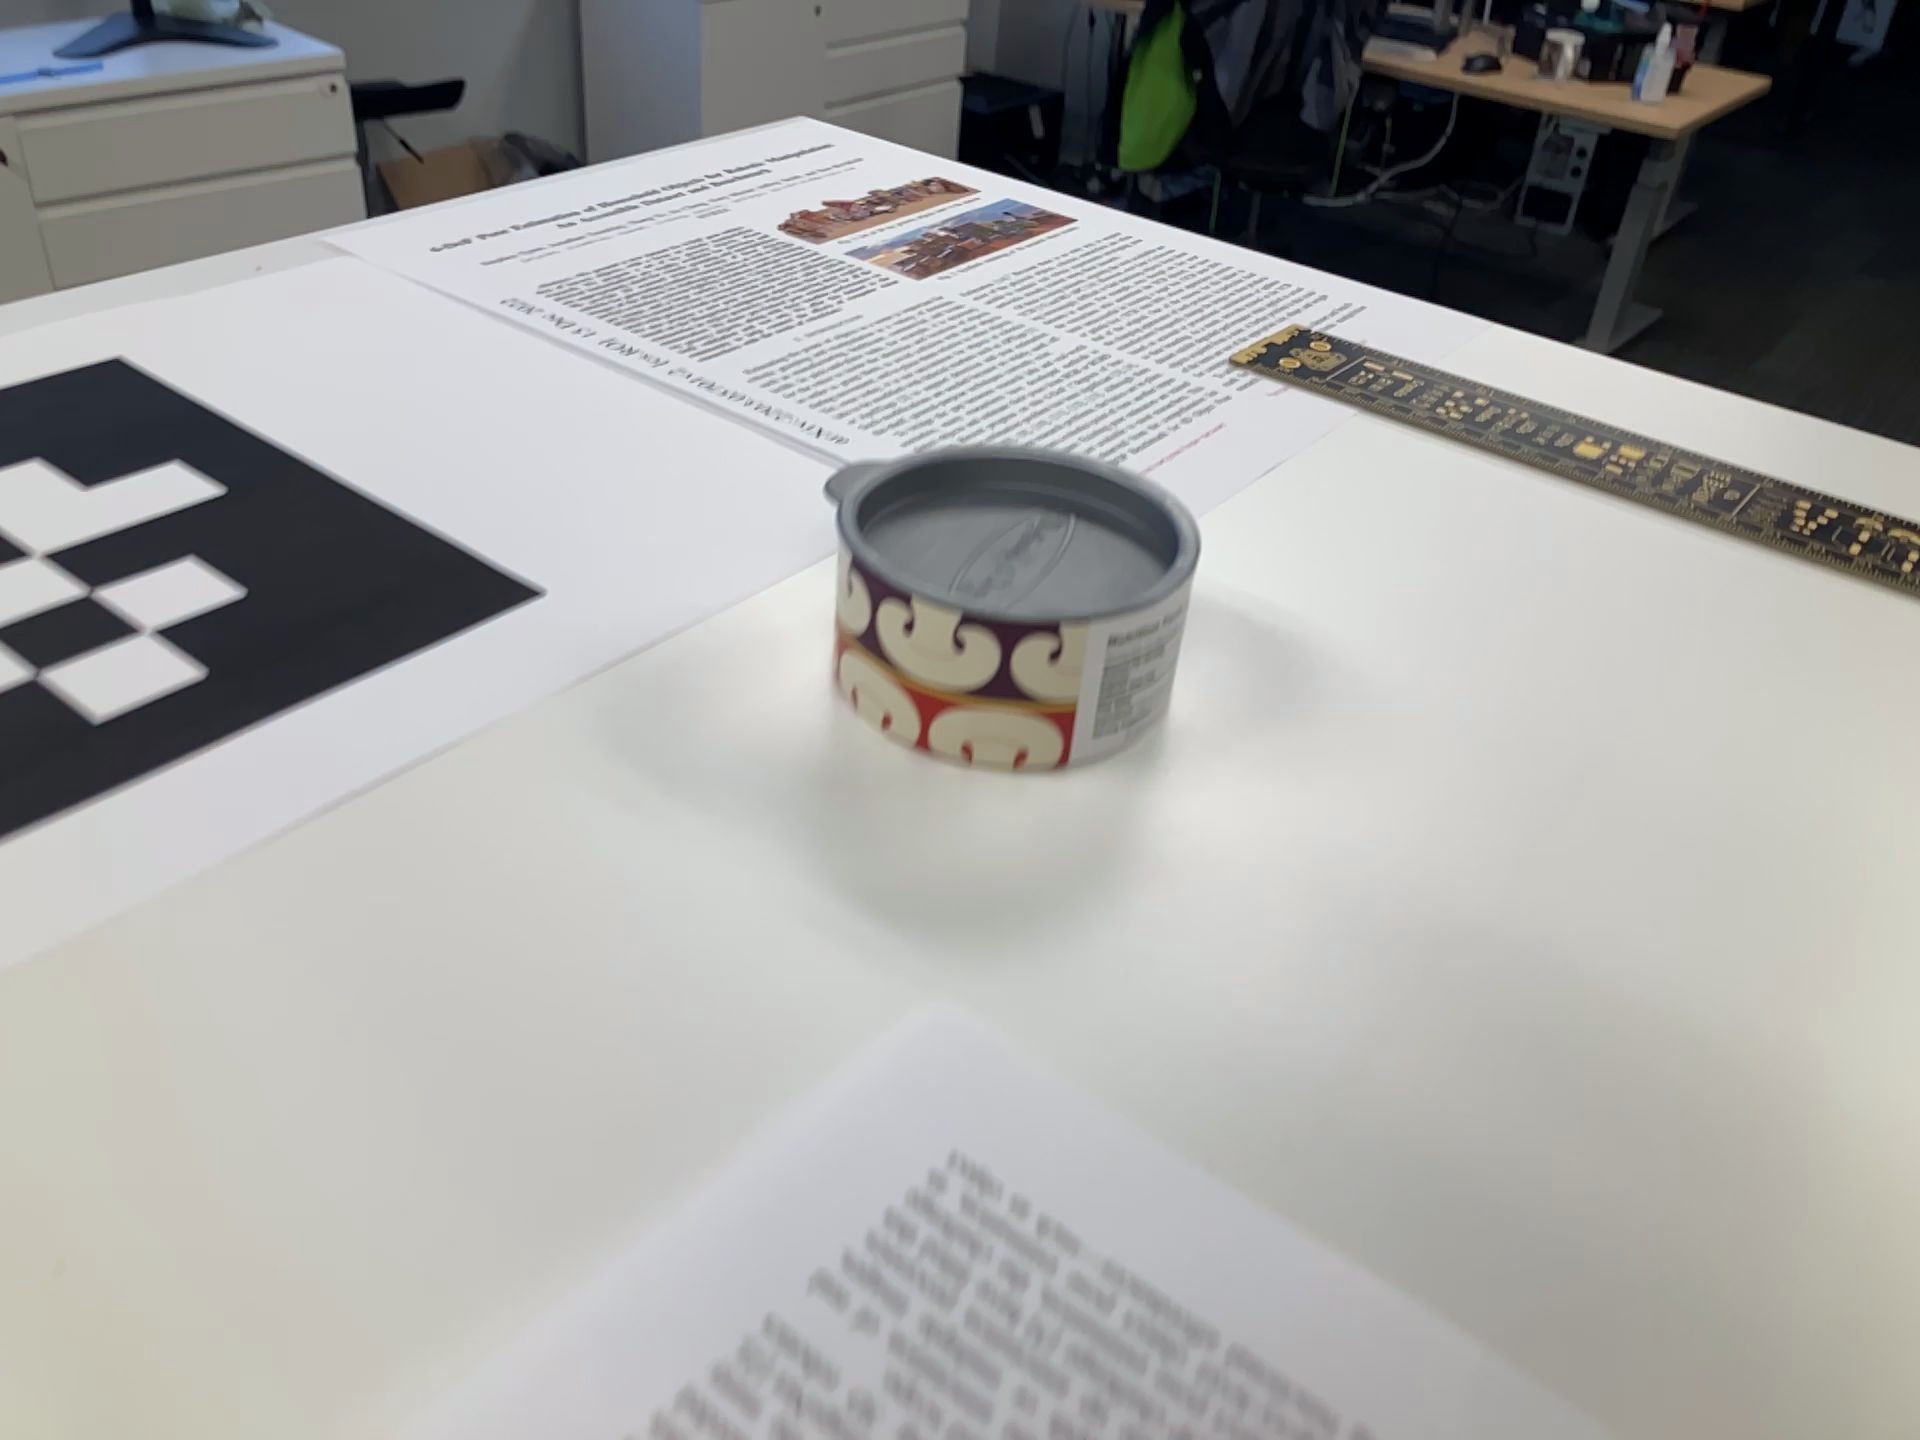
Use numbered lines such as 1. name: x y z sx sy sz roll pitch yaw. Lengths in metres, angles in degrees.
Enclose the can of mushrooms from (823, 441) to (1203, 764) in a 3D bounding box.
1. can of mushrooms: 0.008 -0.024 0.296 0.071 0.033 0.071 3 35 -2
